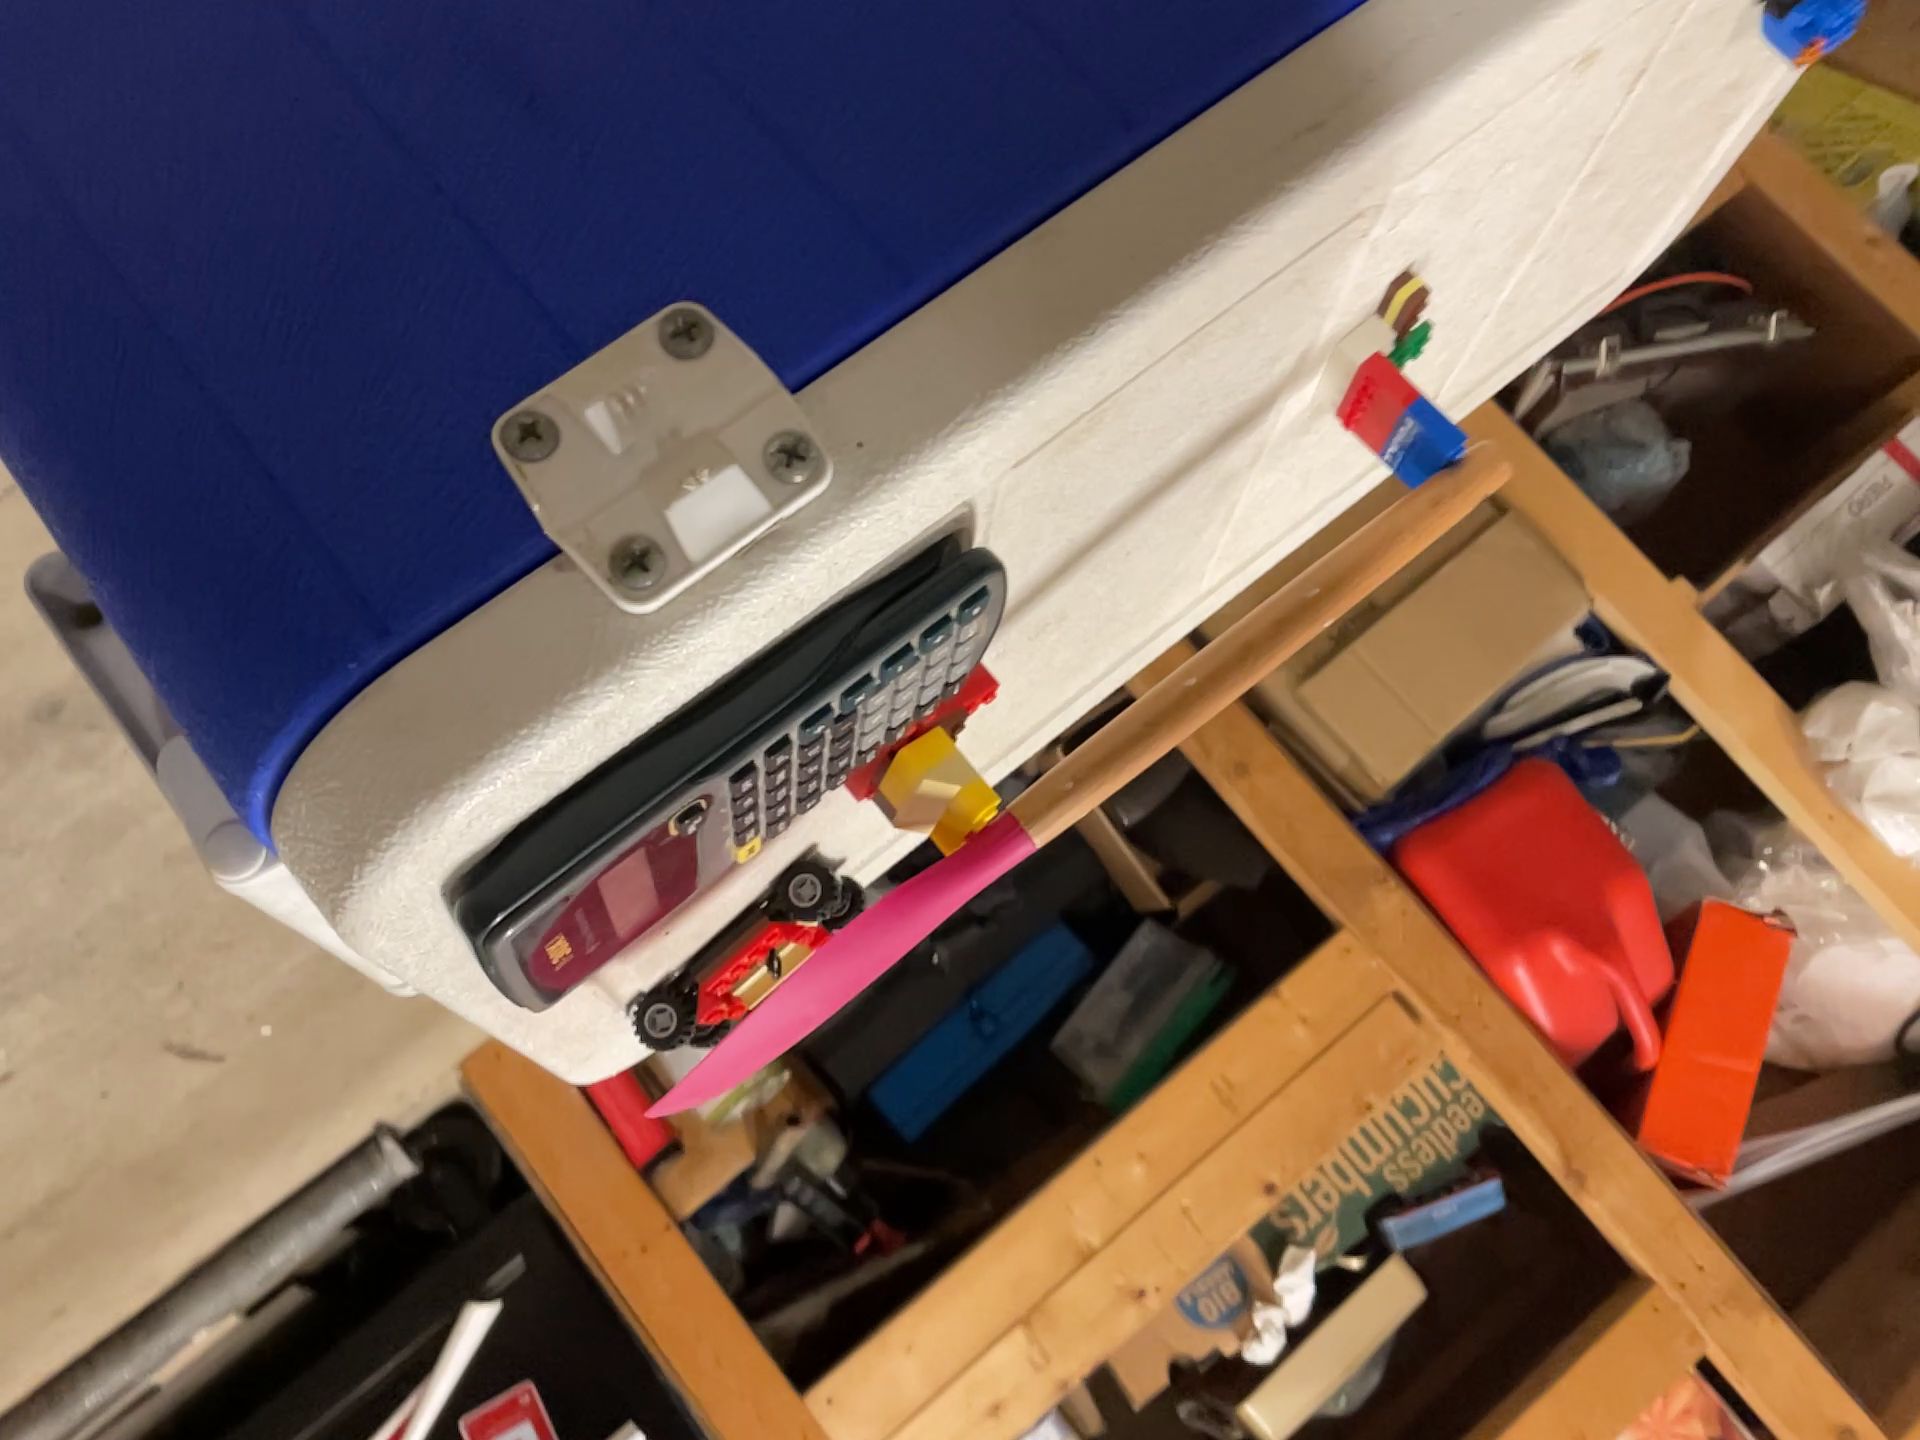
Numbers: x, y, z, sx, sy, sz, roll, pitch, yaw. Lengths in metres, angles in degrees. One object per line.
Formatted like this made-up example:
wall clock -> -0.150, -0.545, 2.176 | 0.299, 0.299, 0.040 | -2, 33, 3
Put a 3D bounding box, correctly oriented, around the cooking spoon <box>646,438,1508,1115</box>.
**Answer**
cooking spoon -> 0.038, 0.016, 0.472 | 0.319, 0.017, 0.068 | -38, 171, -6
